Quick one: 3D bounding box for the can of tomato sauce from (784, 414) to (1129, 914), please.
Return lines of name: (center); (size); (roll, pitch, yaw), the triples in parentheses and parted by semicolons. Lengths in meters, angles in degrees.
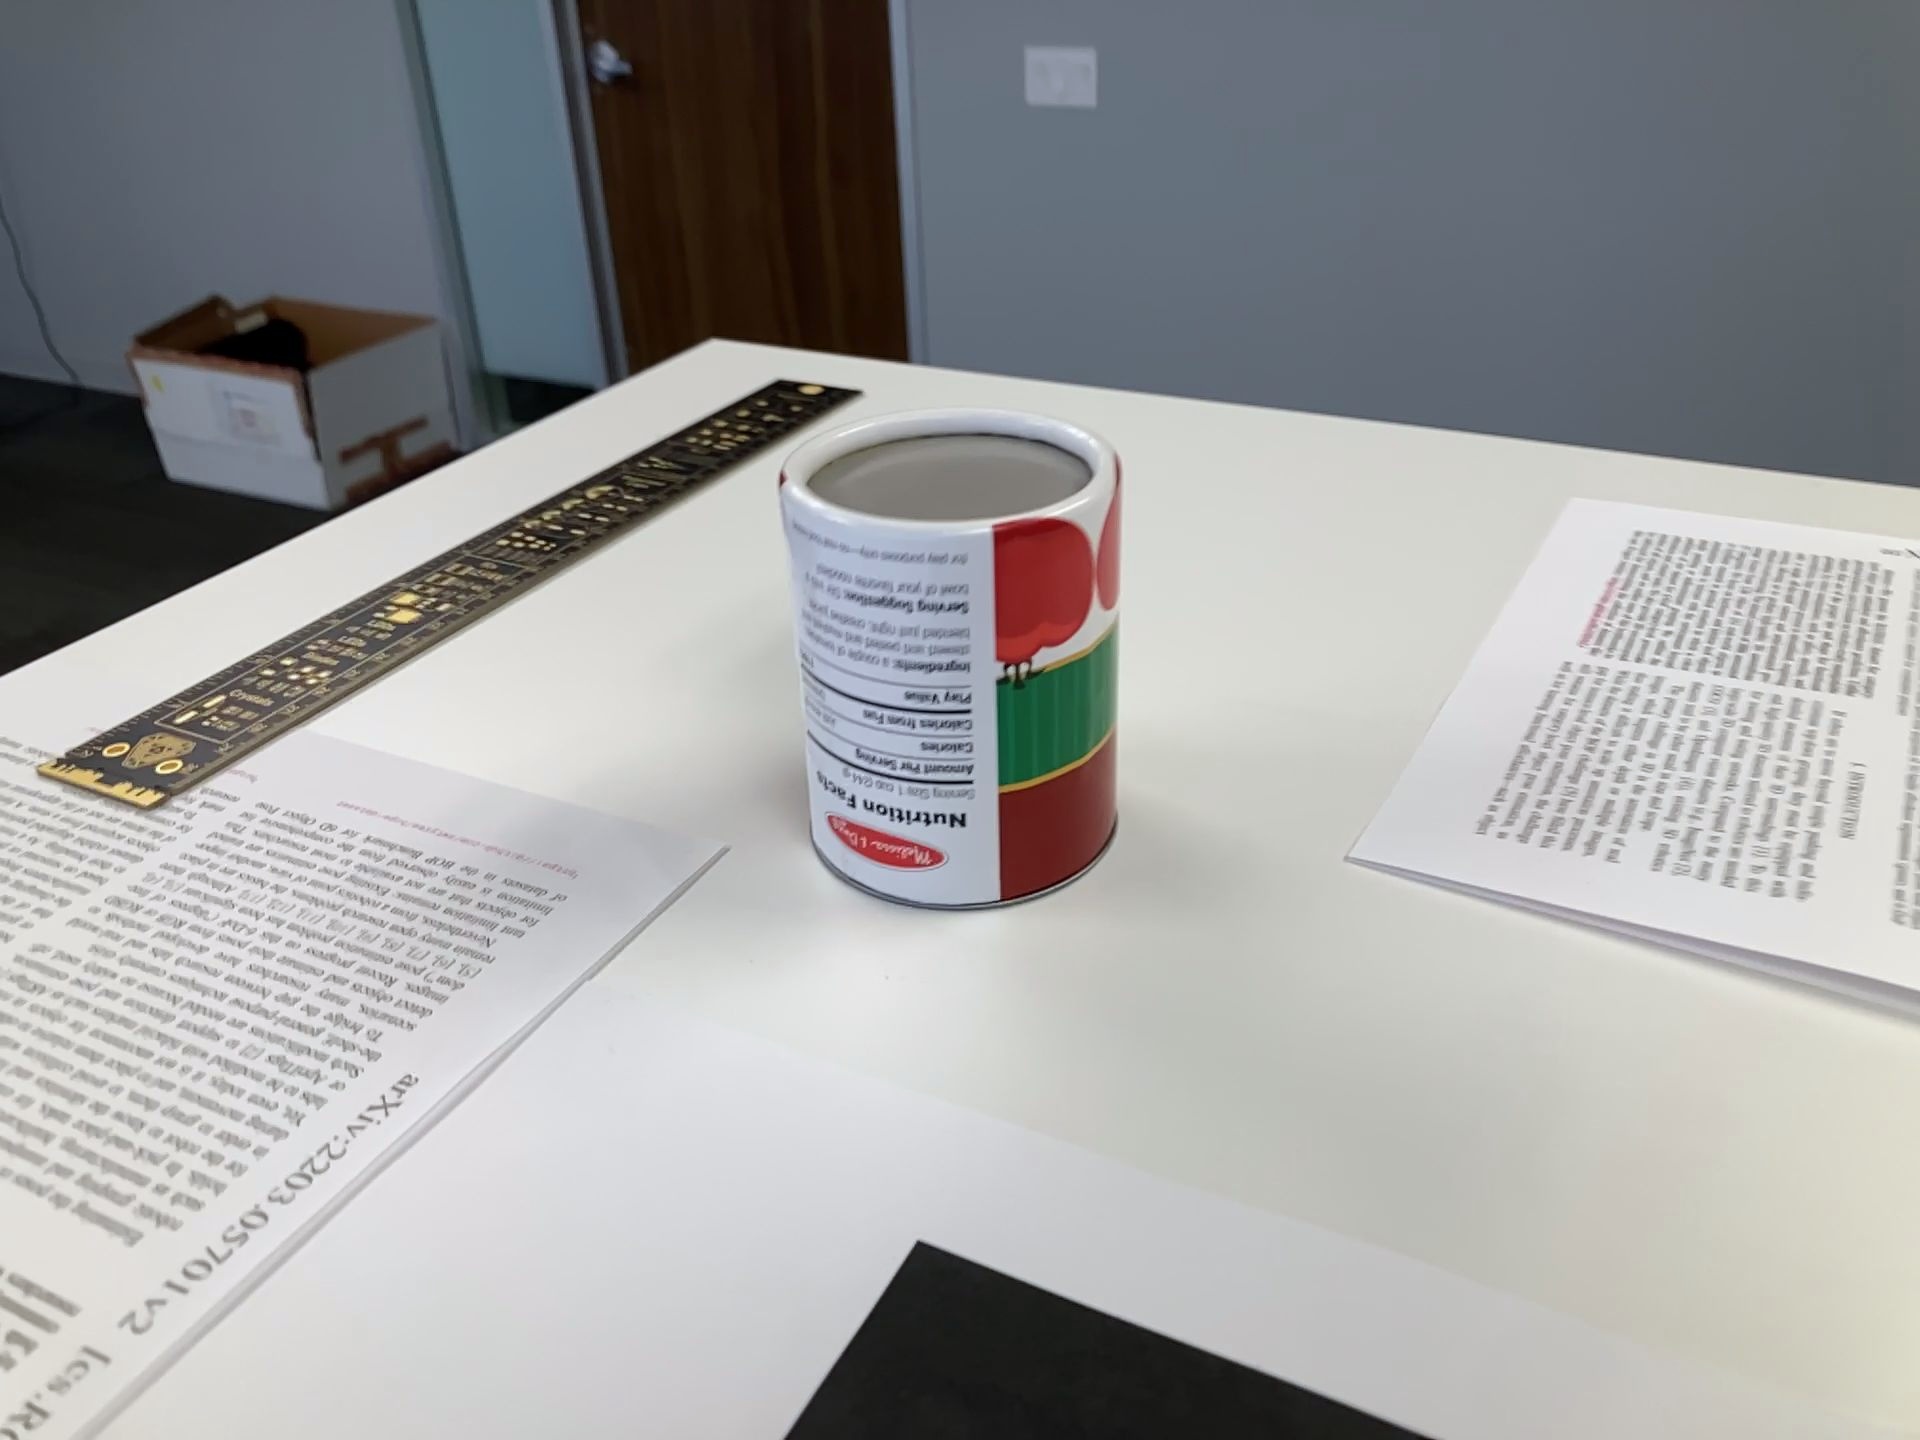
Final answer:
can of tomato sauce: (0.001, -0.014, 0.327); (0.071, 0.083, 0.071); (-3, 28, 2)
